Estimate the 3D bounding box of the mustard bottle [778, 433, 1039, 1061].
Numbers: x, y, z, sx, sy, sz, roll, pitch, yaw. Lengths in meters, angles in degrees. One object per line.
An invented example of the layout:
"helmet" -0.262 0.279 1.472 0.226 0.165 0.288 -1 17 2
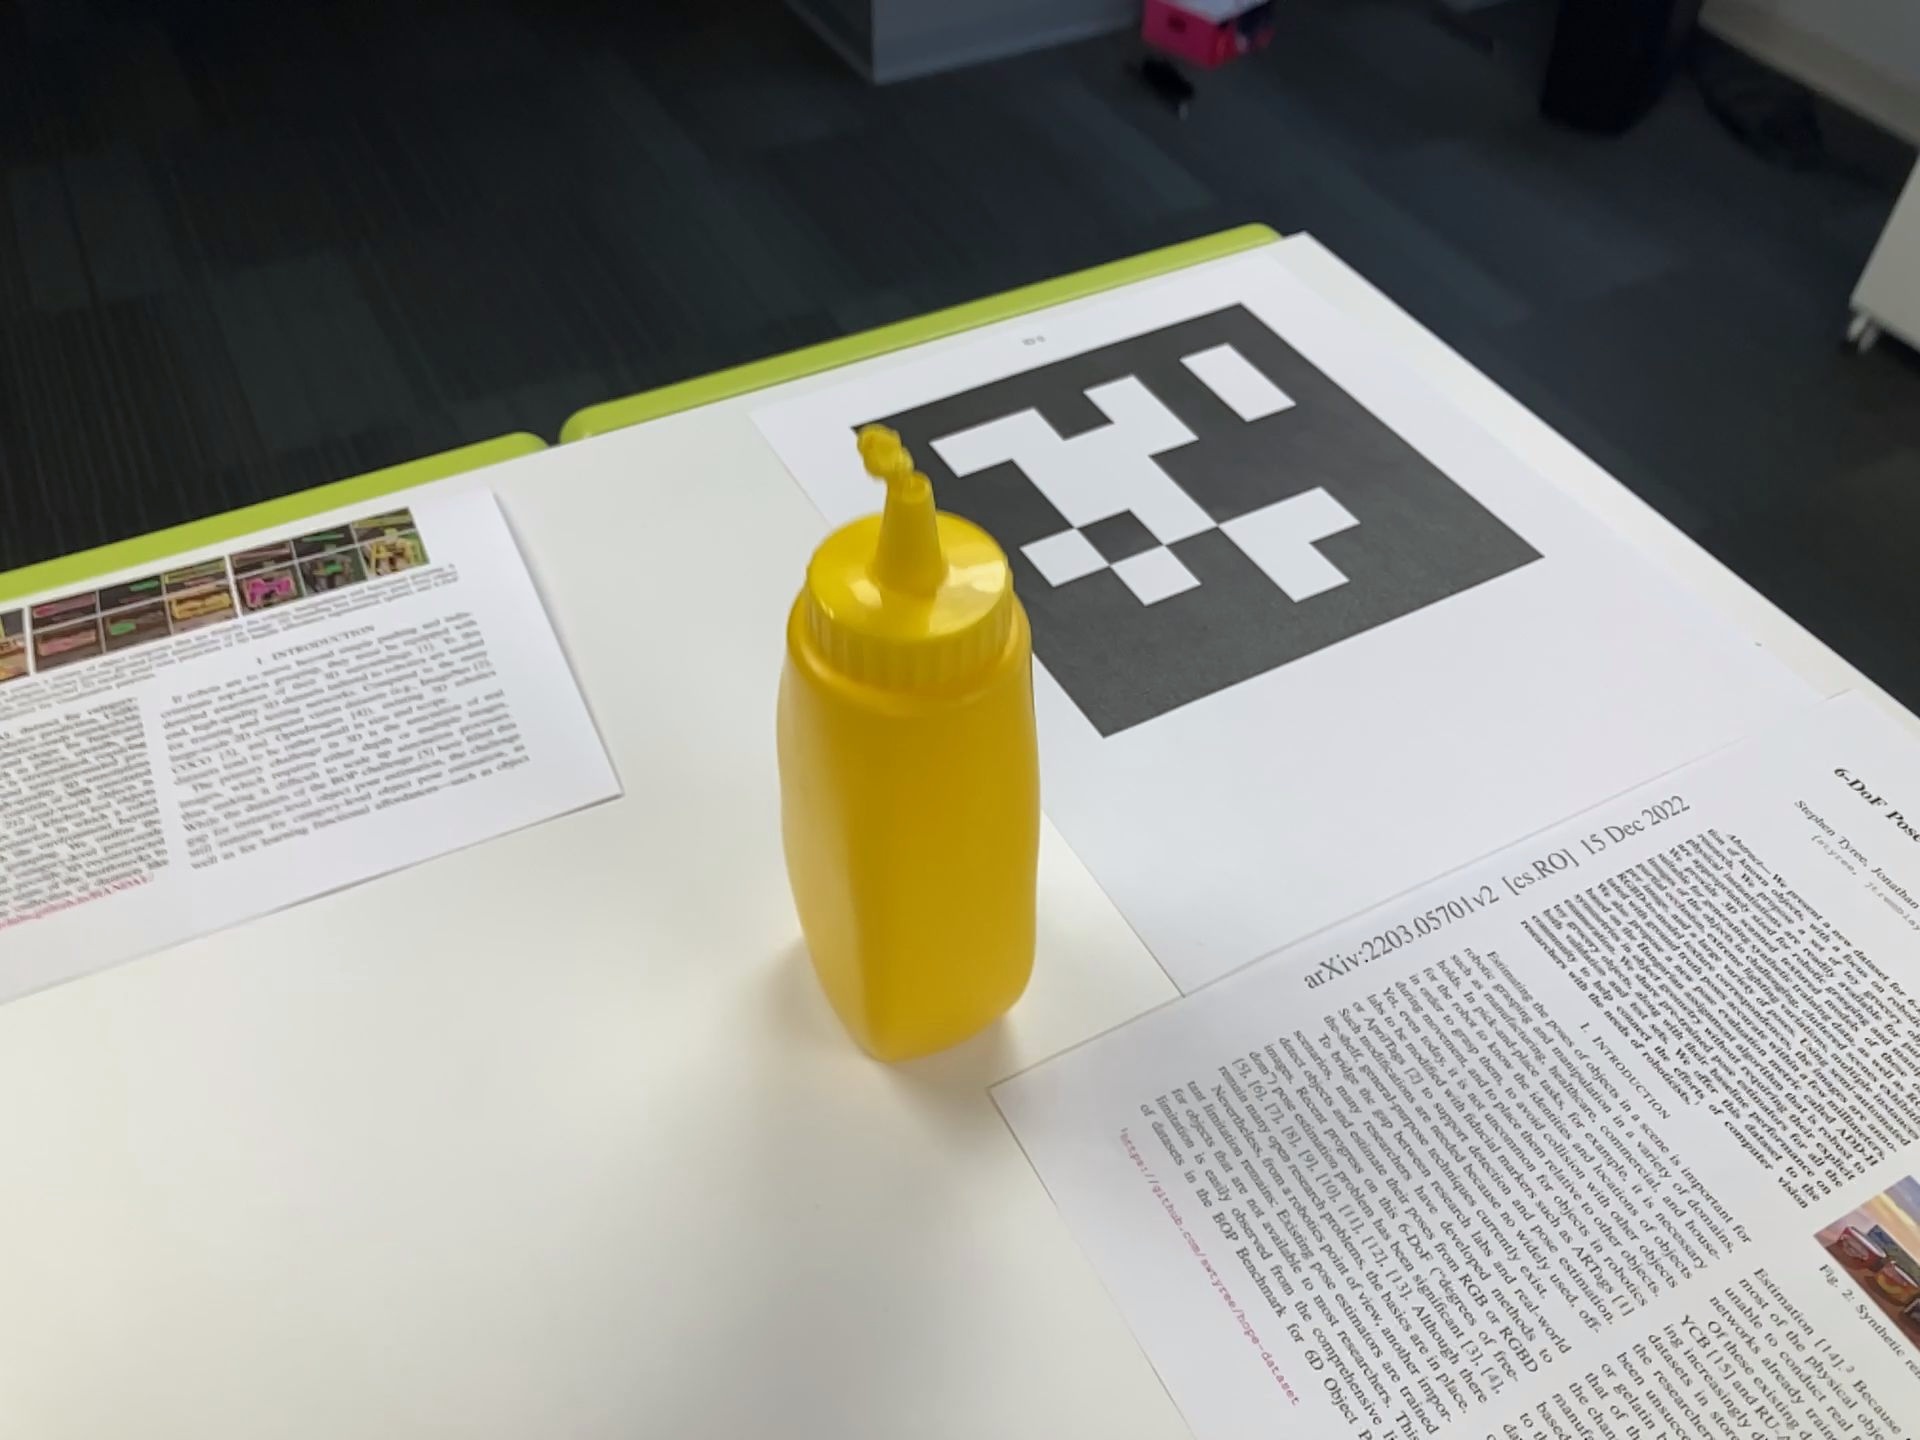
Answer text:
"mustard bottle" -0.010 0.007 0.330 0.049 0.160 0.065 -17 50 -17
